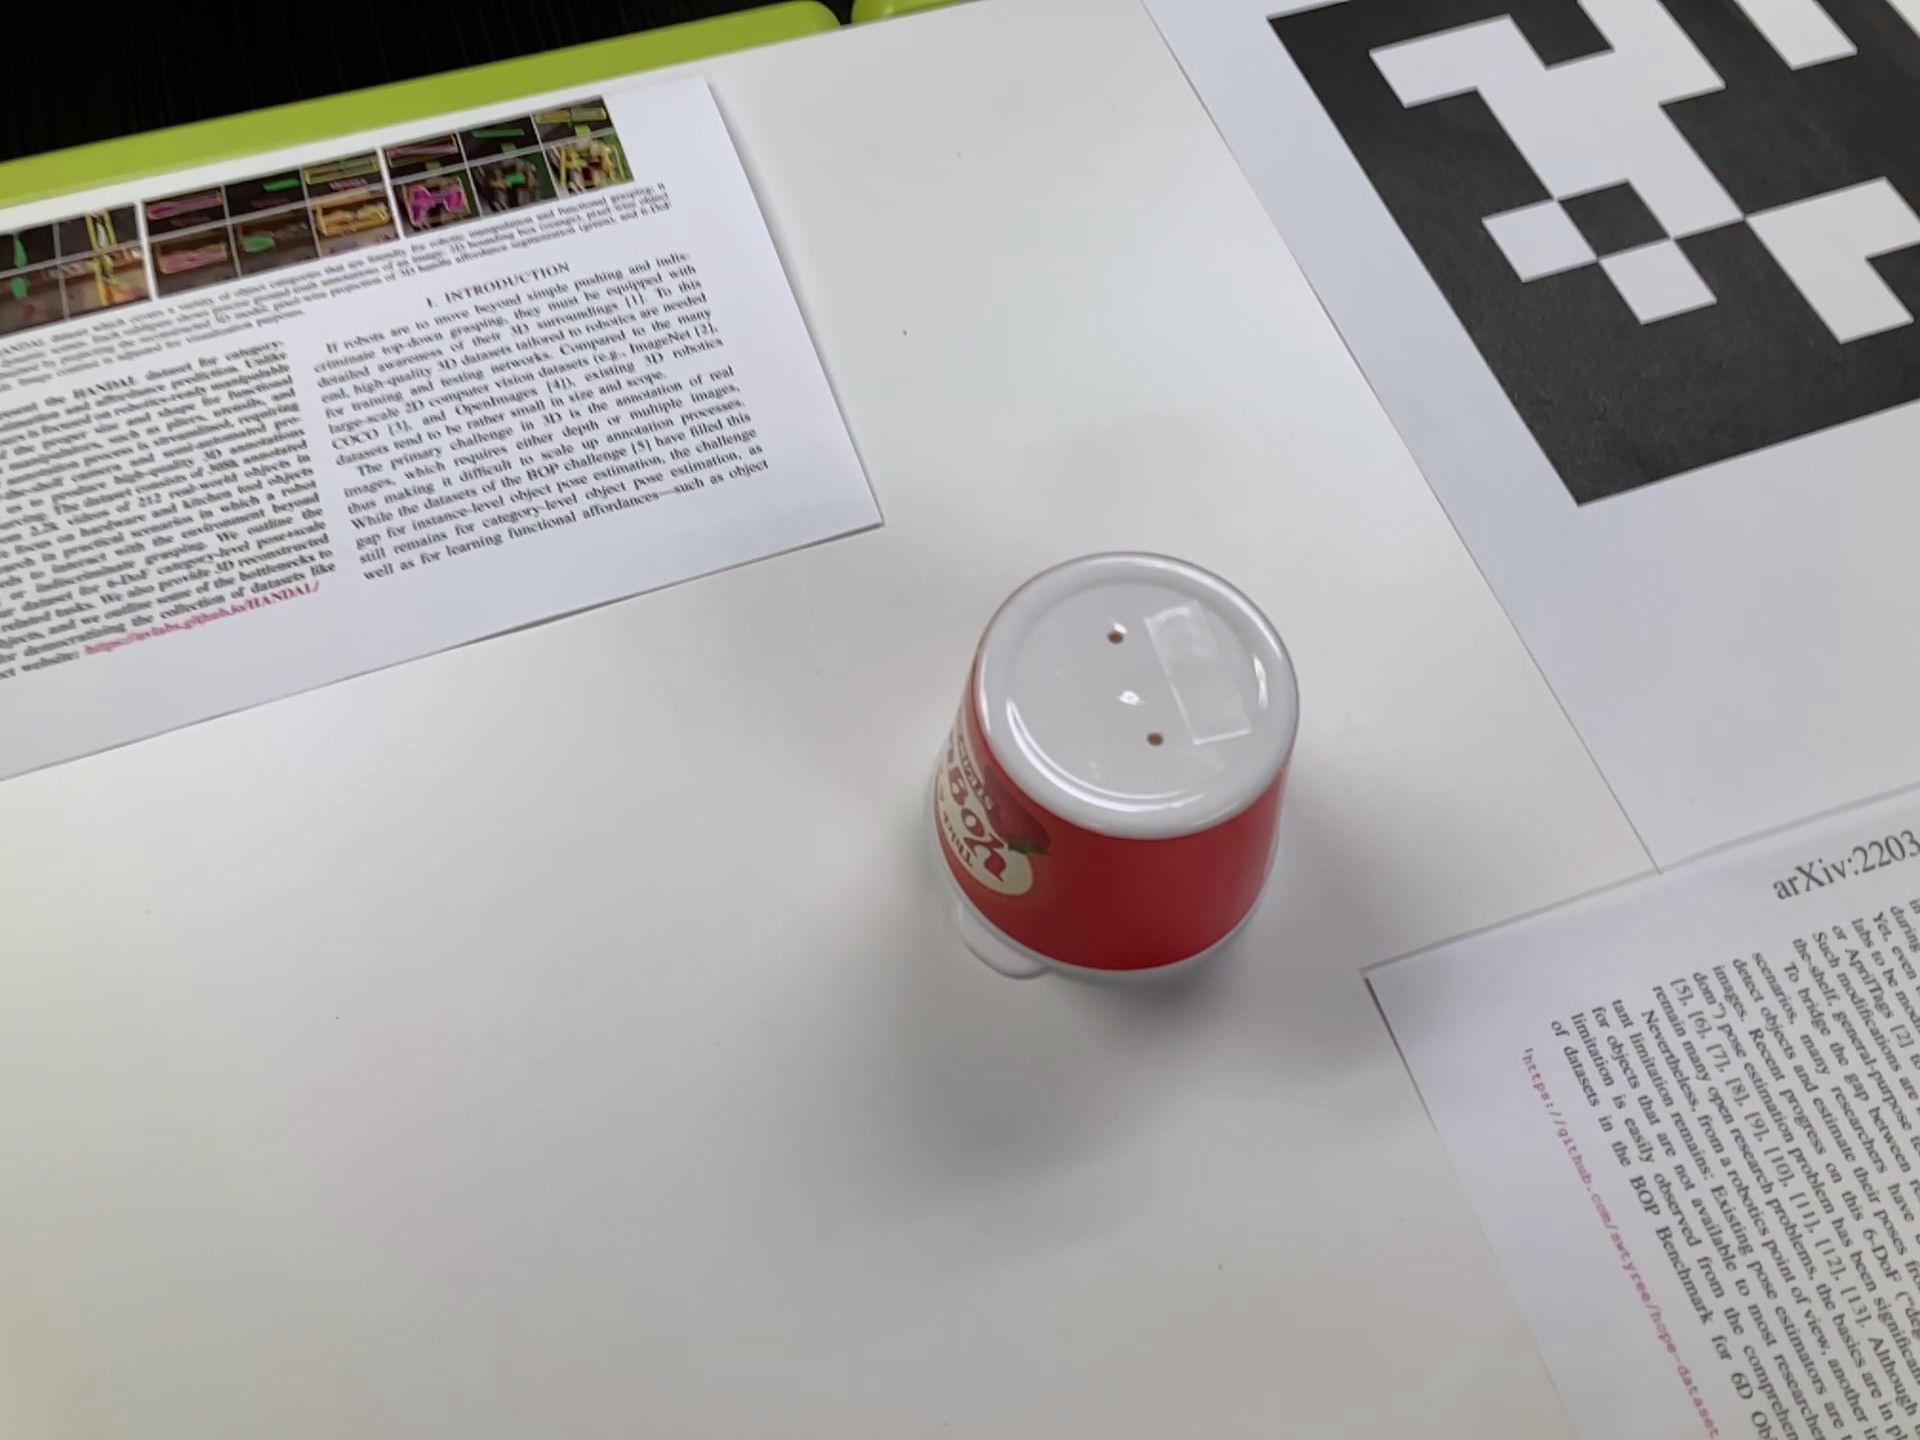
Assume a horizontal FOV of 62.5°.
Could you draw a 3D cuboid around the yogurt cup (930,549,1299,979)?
[{"bbox_3d":[0.028,0.006,0.285,0.072,0.054,0.072,0,62,-1],"label":"yogurt cup"}]
